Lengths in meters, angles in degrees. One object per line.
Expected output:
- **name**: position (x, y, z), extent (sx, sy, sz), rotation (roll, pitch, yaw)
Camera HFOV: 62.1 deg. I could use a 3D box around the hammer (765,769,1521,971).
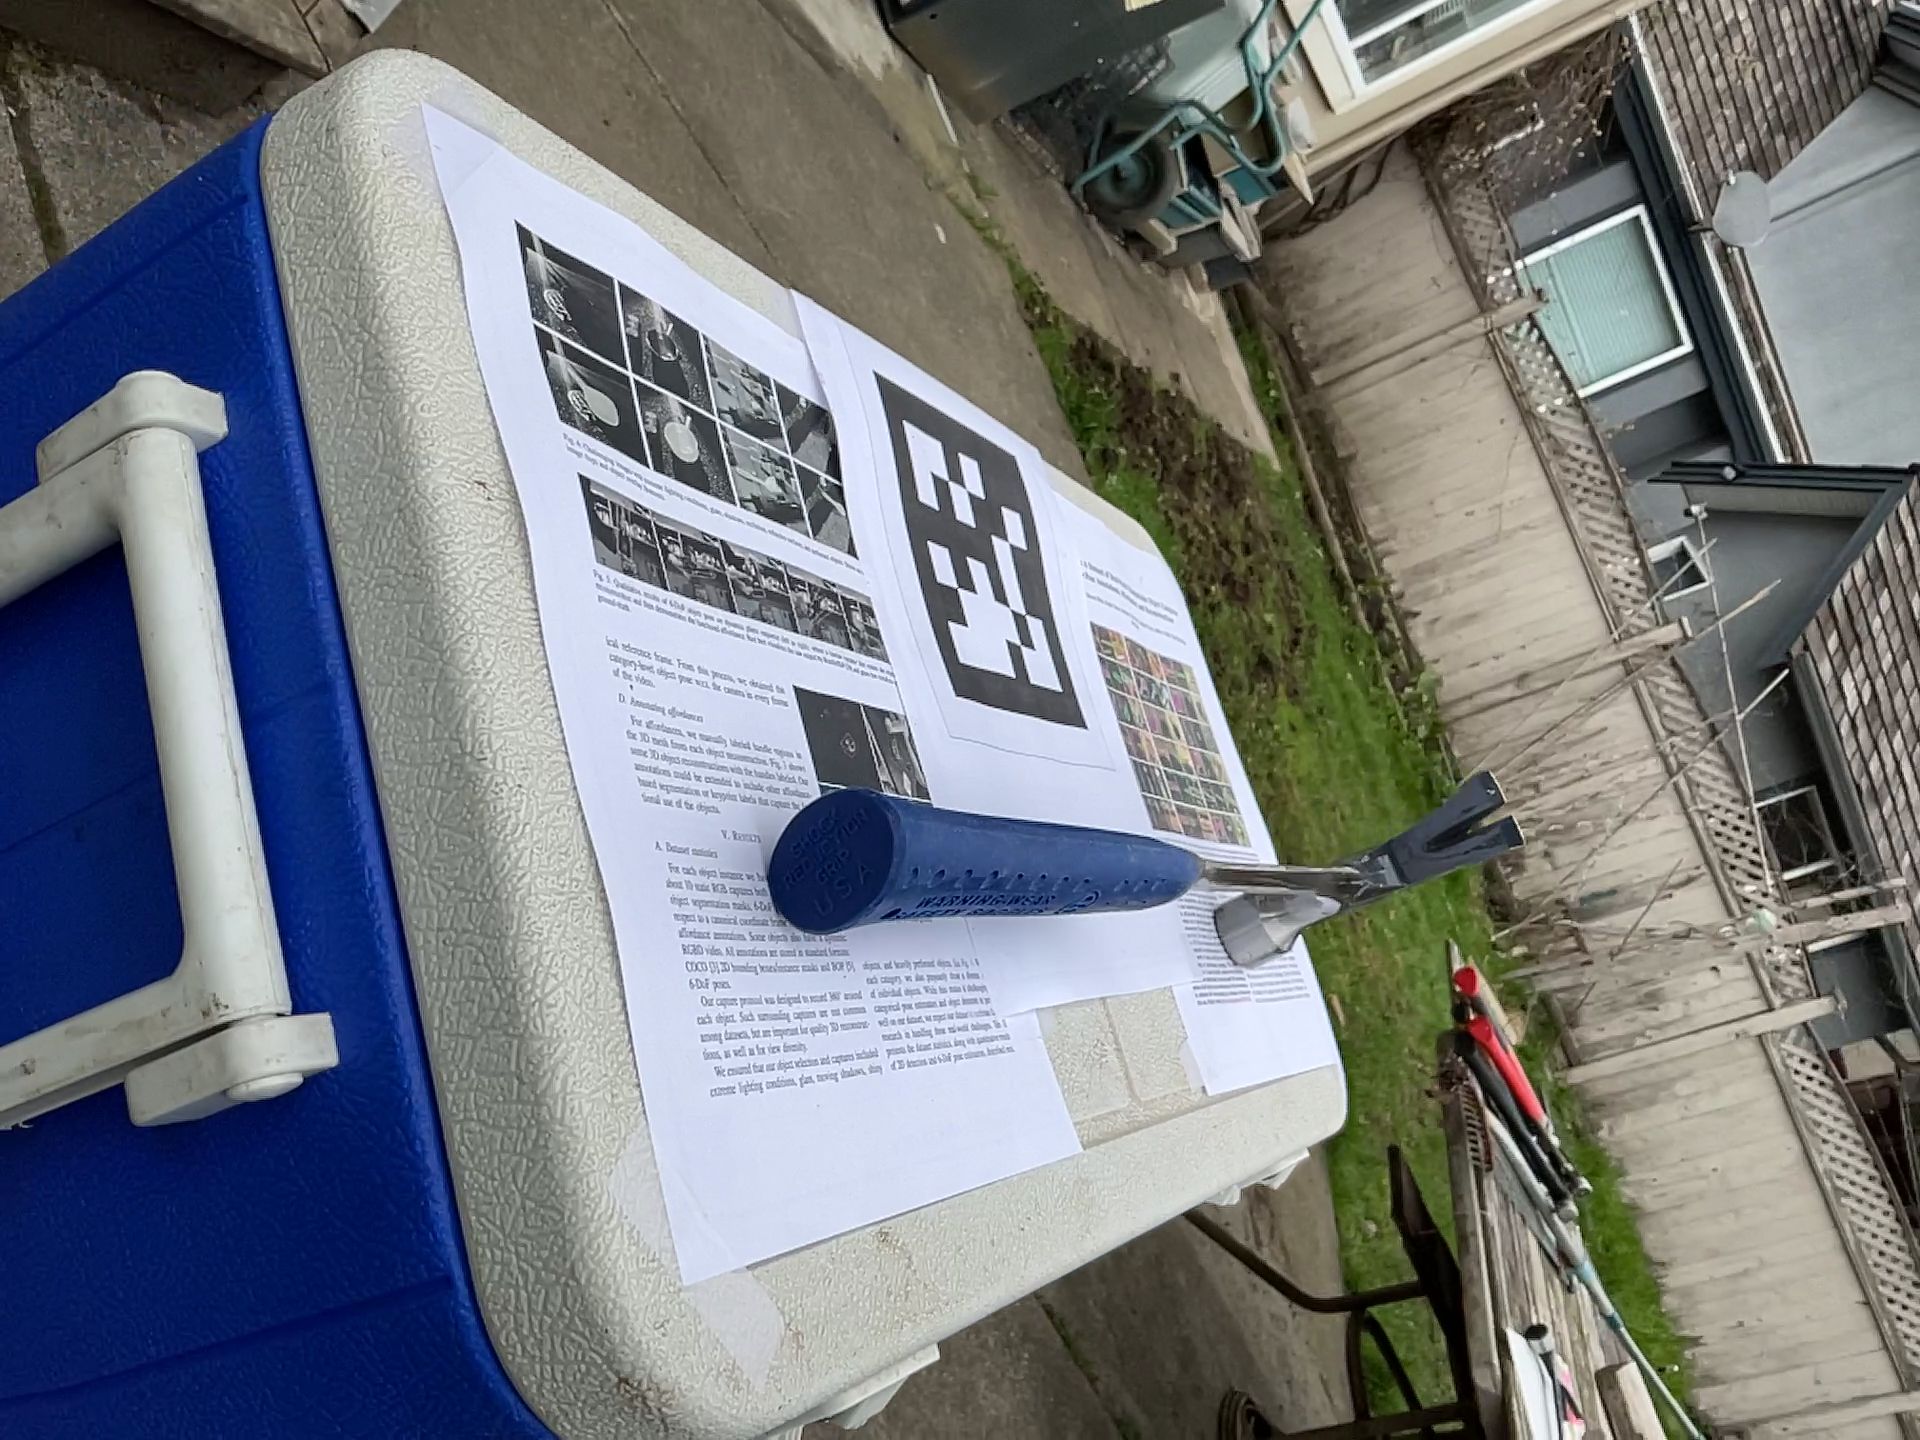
- **hammer**: position (0.081, 0.052, 0.559), extent (0.405, 0.144, 0.035), rotation (10, 54, -57)
